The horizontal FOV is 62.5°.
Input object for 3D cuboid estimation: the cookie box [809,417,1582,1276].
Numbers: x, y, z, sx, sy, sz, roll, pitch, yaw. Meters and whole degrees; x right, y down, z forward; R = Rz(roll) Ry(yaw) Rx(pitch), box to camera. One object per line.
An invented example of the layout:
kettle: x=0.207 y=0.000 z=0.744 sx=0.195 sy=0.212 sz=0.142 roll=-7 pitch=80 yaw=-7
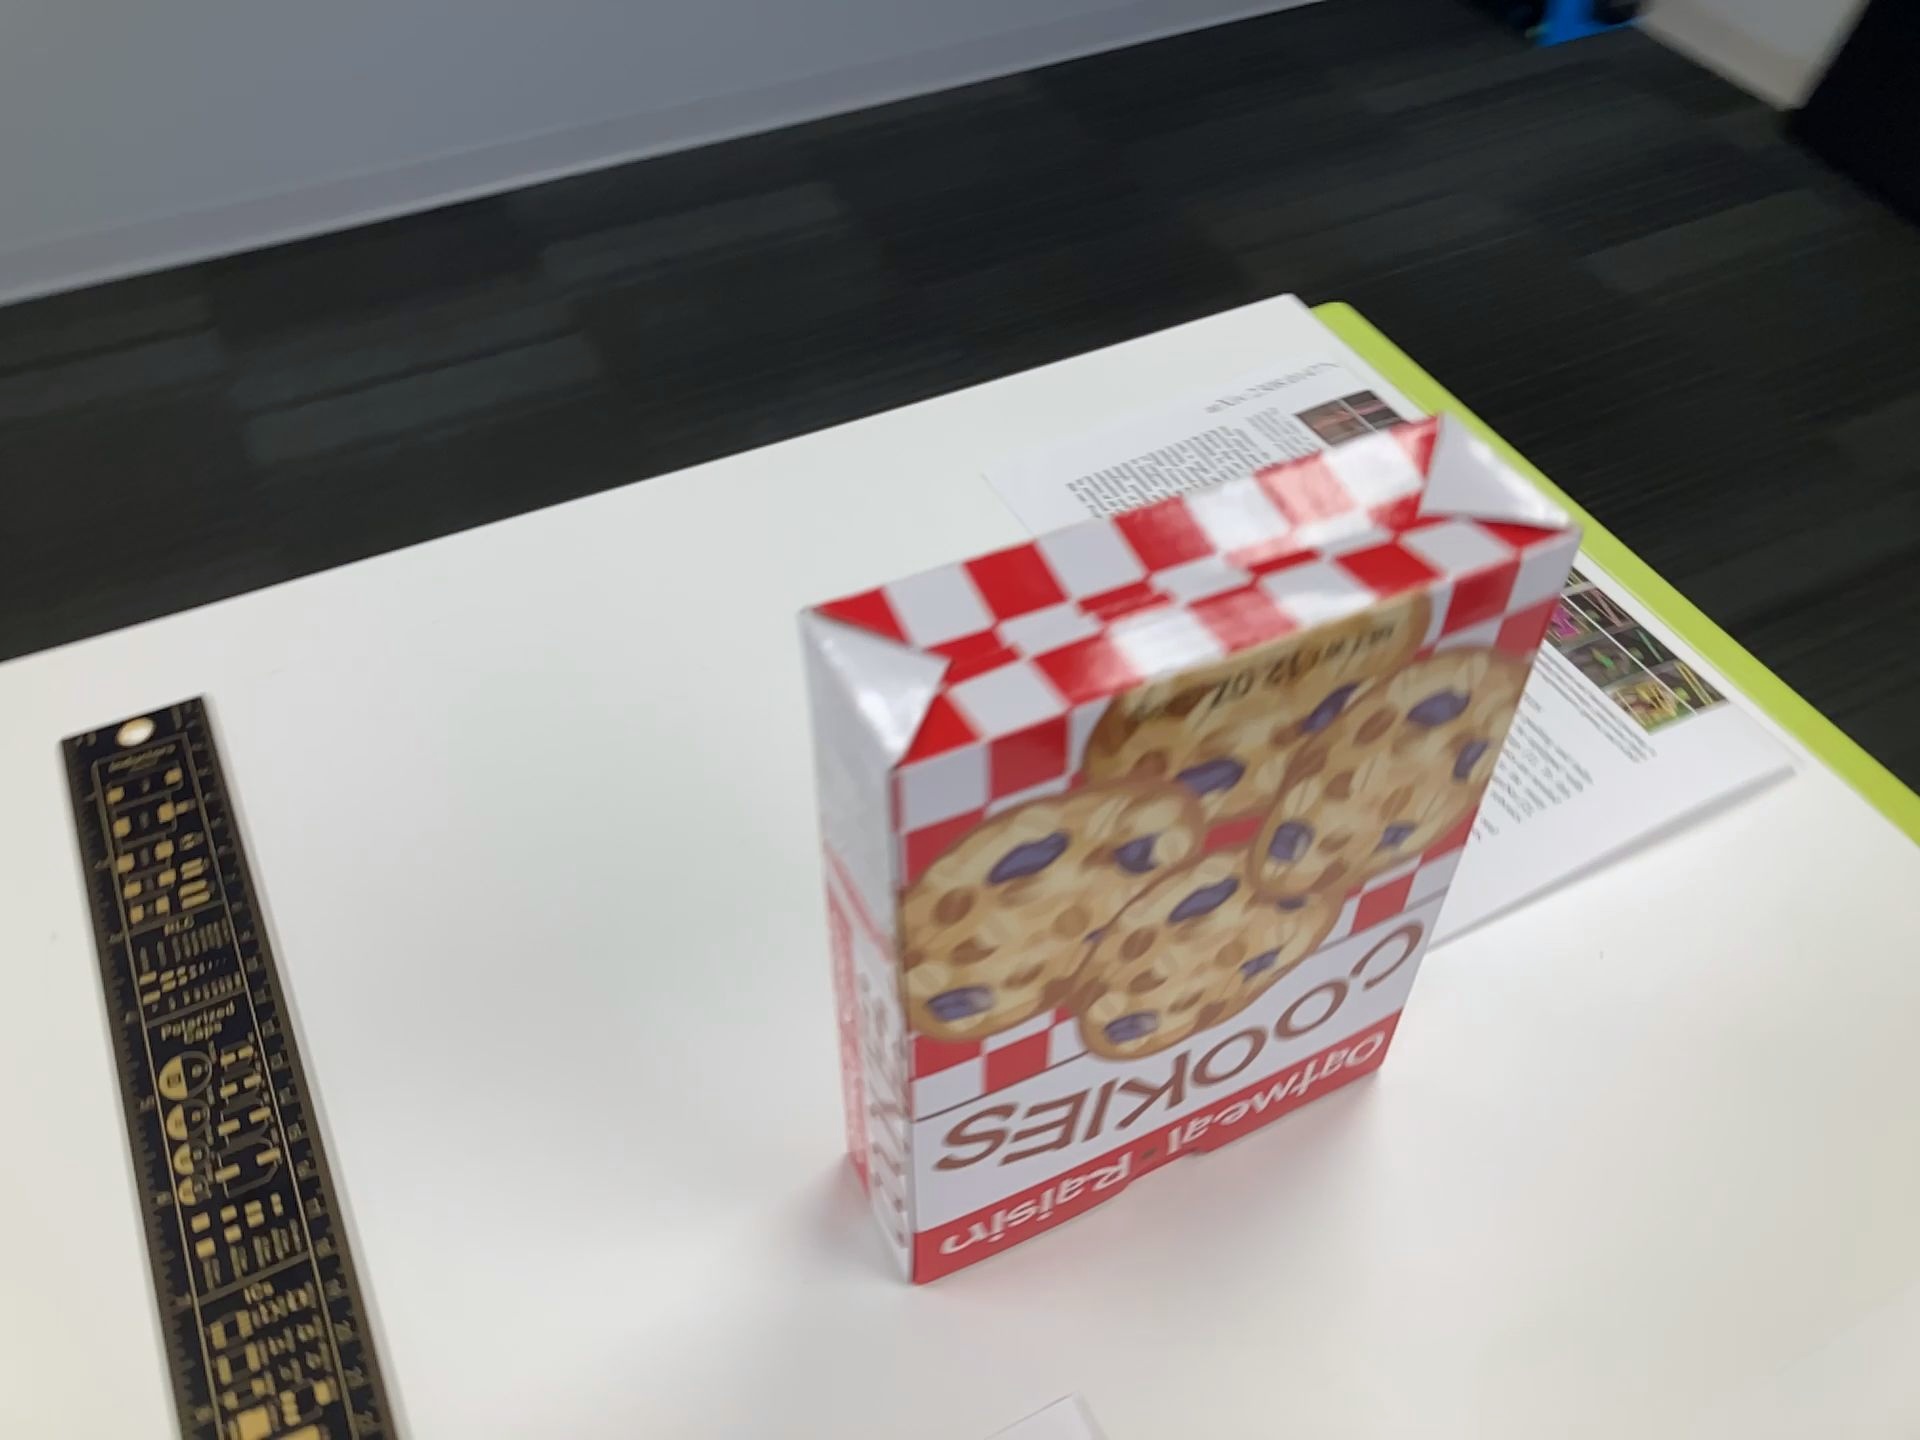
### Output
cookie box: x=0.038 y=0.034 z=0.310 sx=0.123 sy=0.167 sz=0.040 roll=-19 pitch=50 yaw=-18
